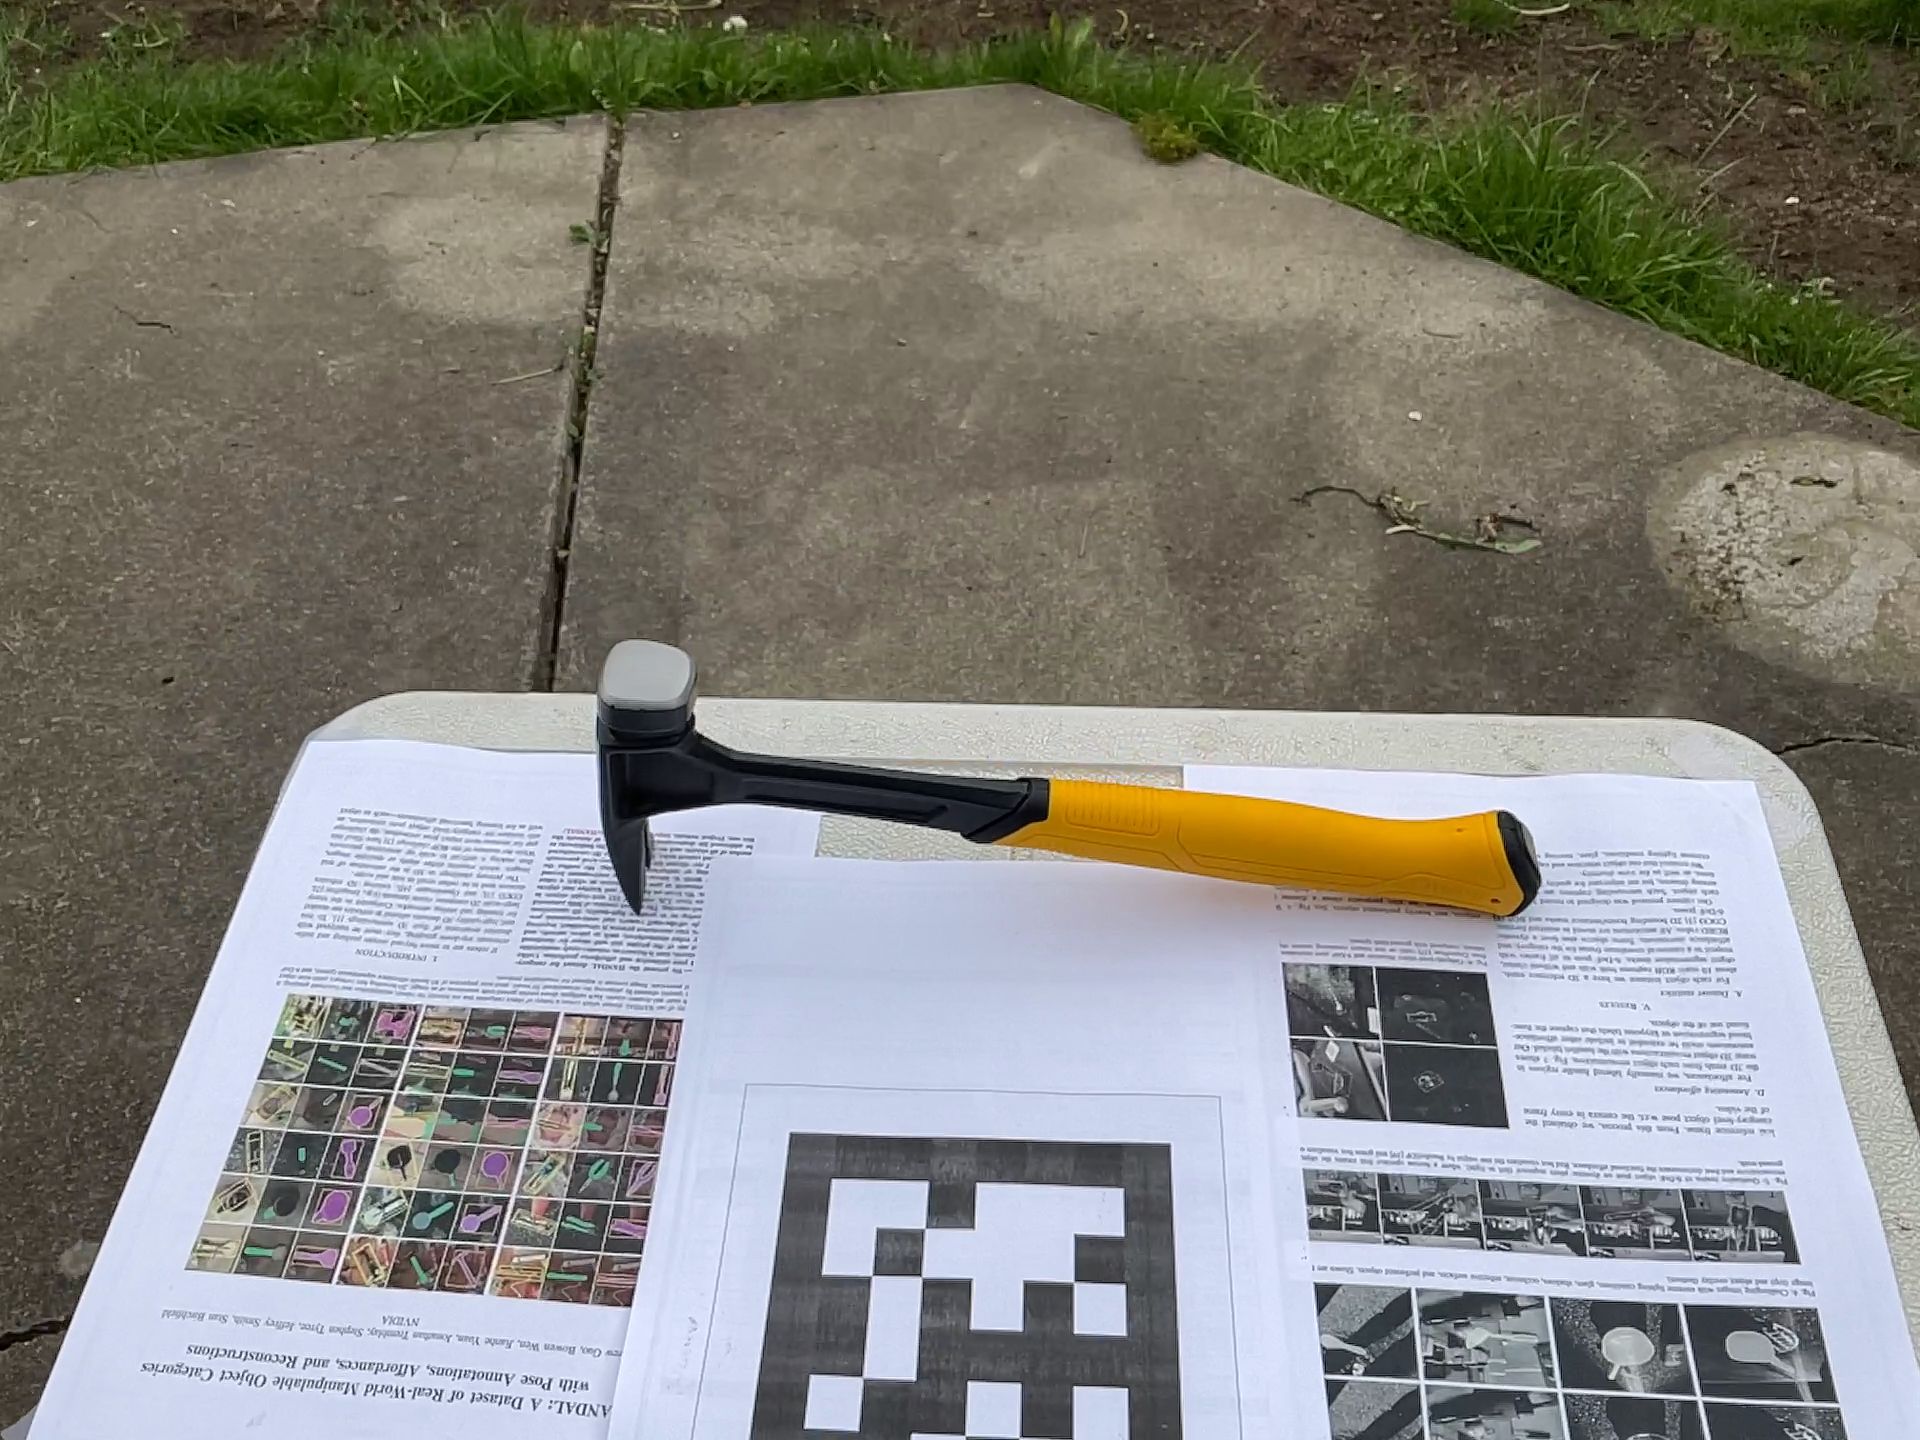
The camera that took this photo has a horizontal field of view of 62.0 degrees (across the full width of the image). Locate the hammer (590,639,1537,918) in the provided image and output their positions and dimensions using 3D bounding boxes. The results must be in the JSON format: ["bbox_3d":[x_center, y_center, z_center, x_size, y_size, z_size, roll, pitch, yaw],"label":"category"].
[{"bbox_3d":[0.038,0.040,0.577,0.336,0.127,0.034,7,51,-4],"label":"hammer"}]
